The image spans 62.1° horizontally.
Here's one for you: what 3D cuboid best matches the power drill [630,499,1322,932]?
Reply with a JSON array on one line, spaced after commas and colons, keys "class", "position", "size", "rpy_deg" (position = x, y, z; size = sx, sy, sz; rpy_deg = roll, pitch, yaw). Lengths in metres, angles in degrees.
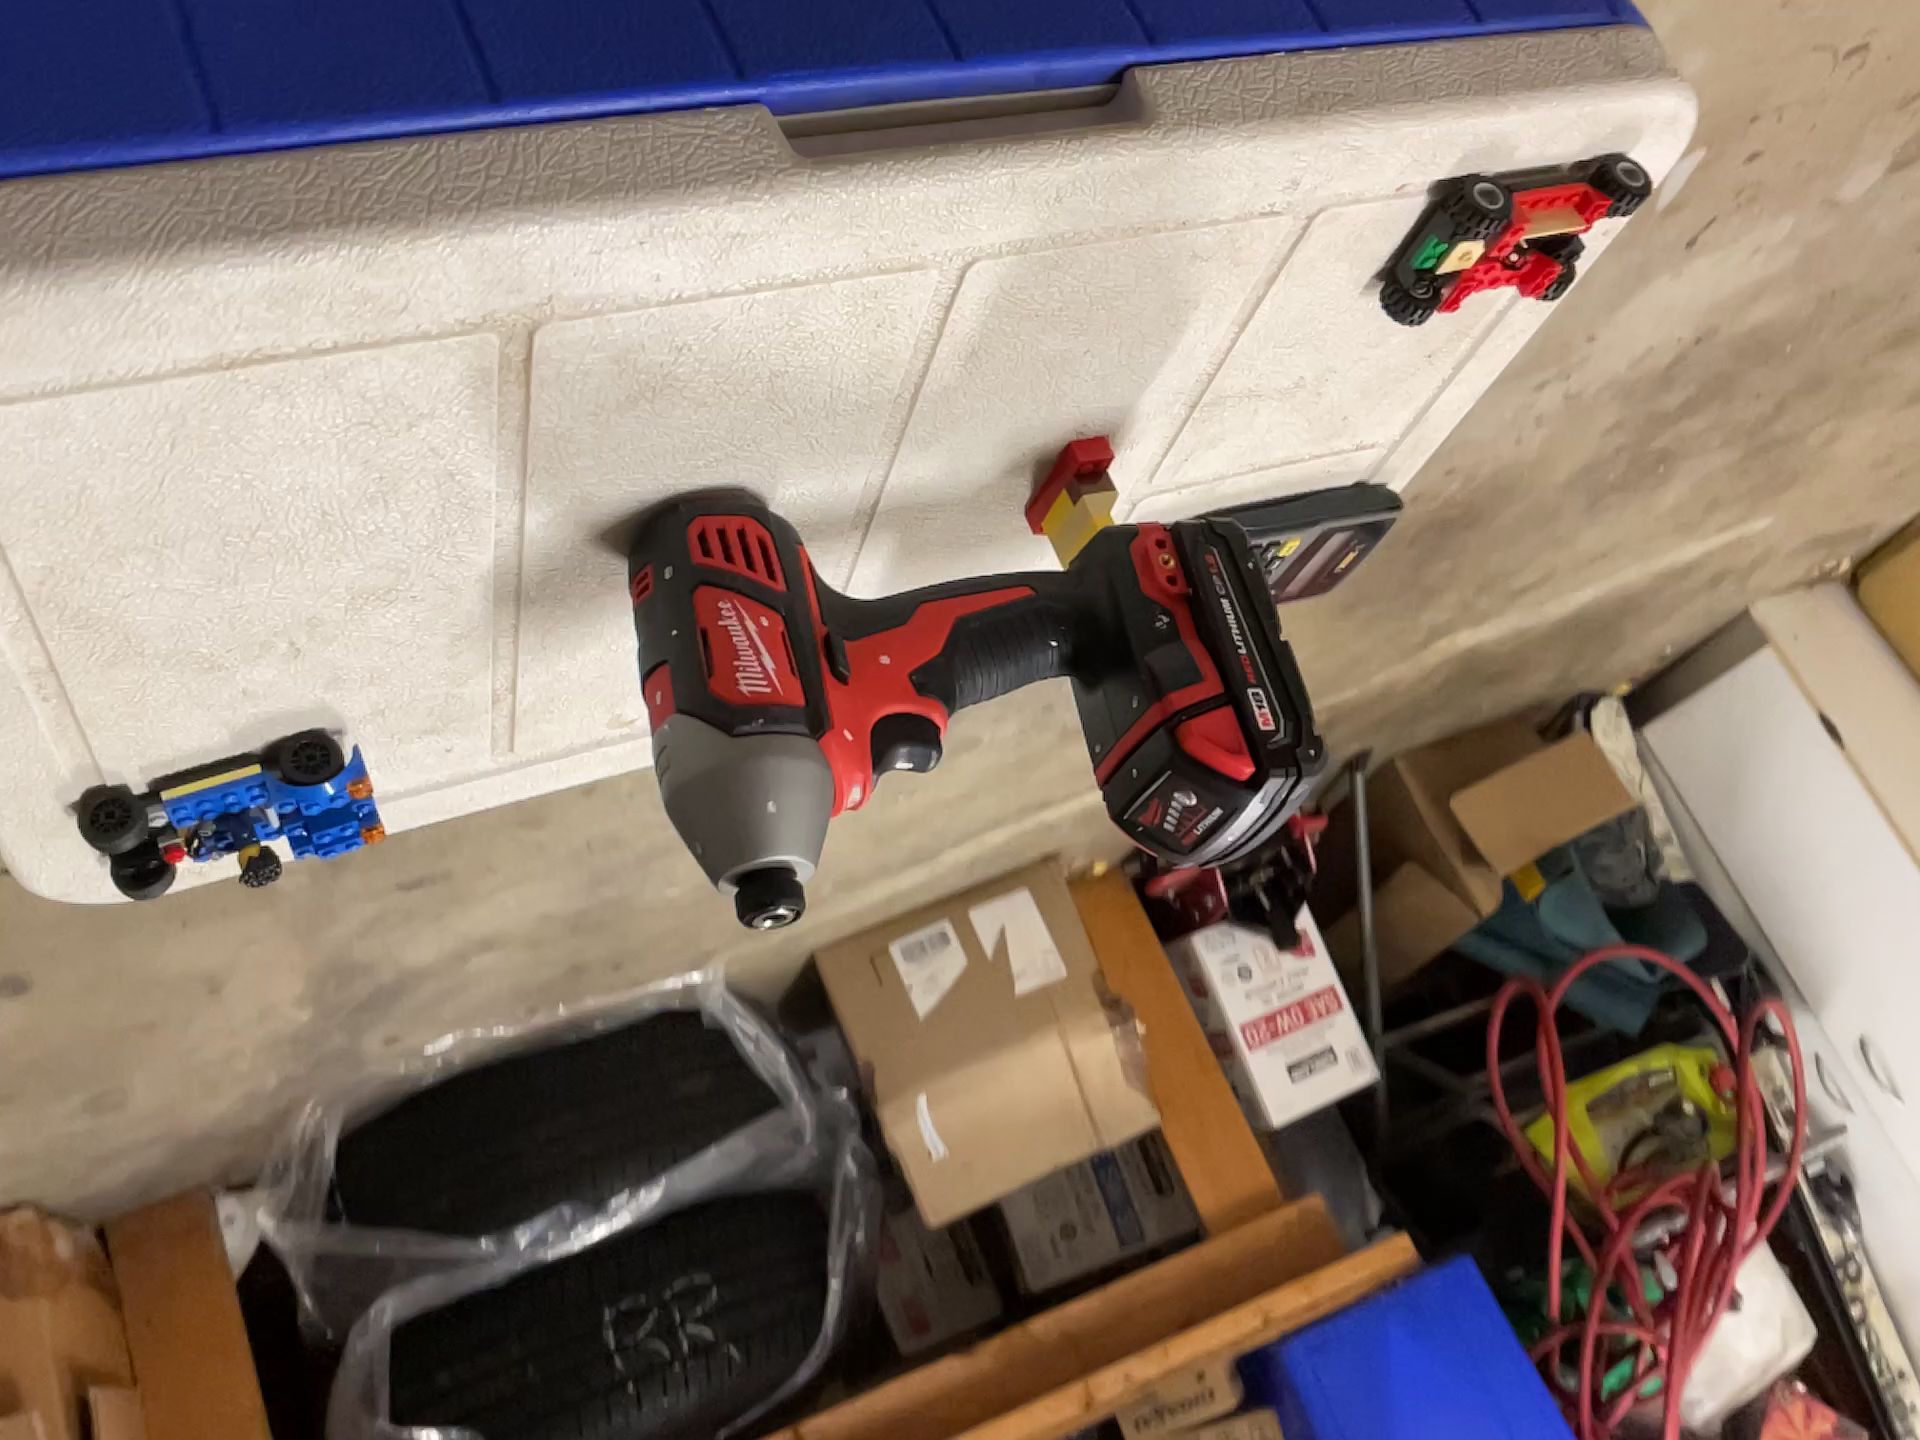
[{"class": "power drill", "position": [0.003, -0.002, 0.545], "size": [0.219, 0.143, 0.078], "rpy_deg": [-1, 152, -22]}]
